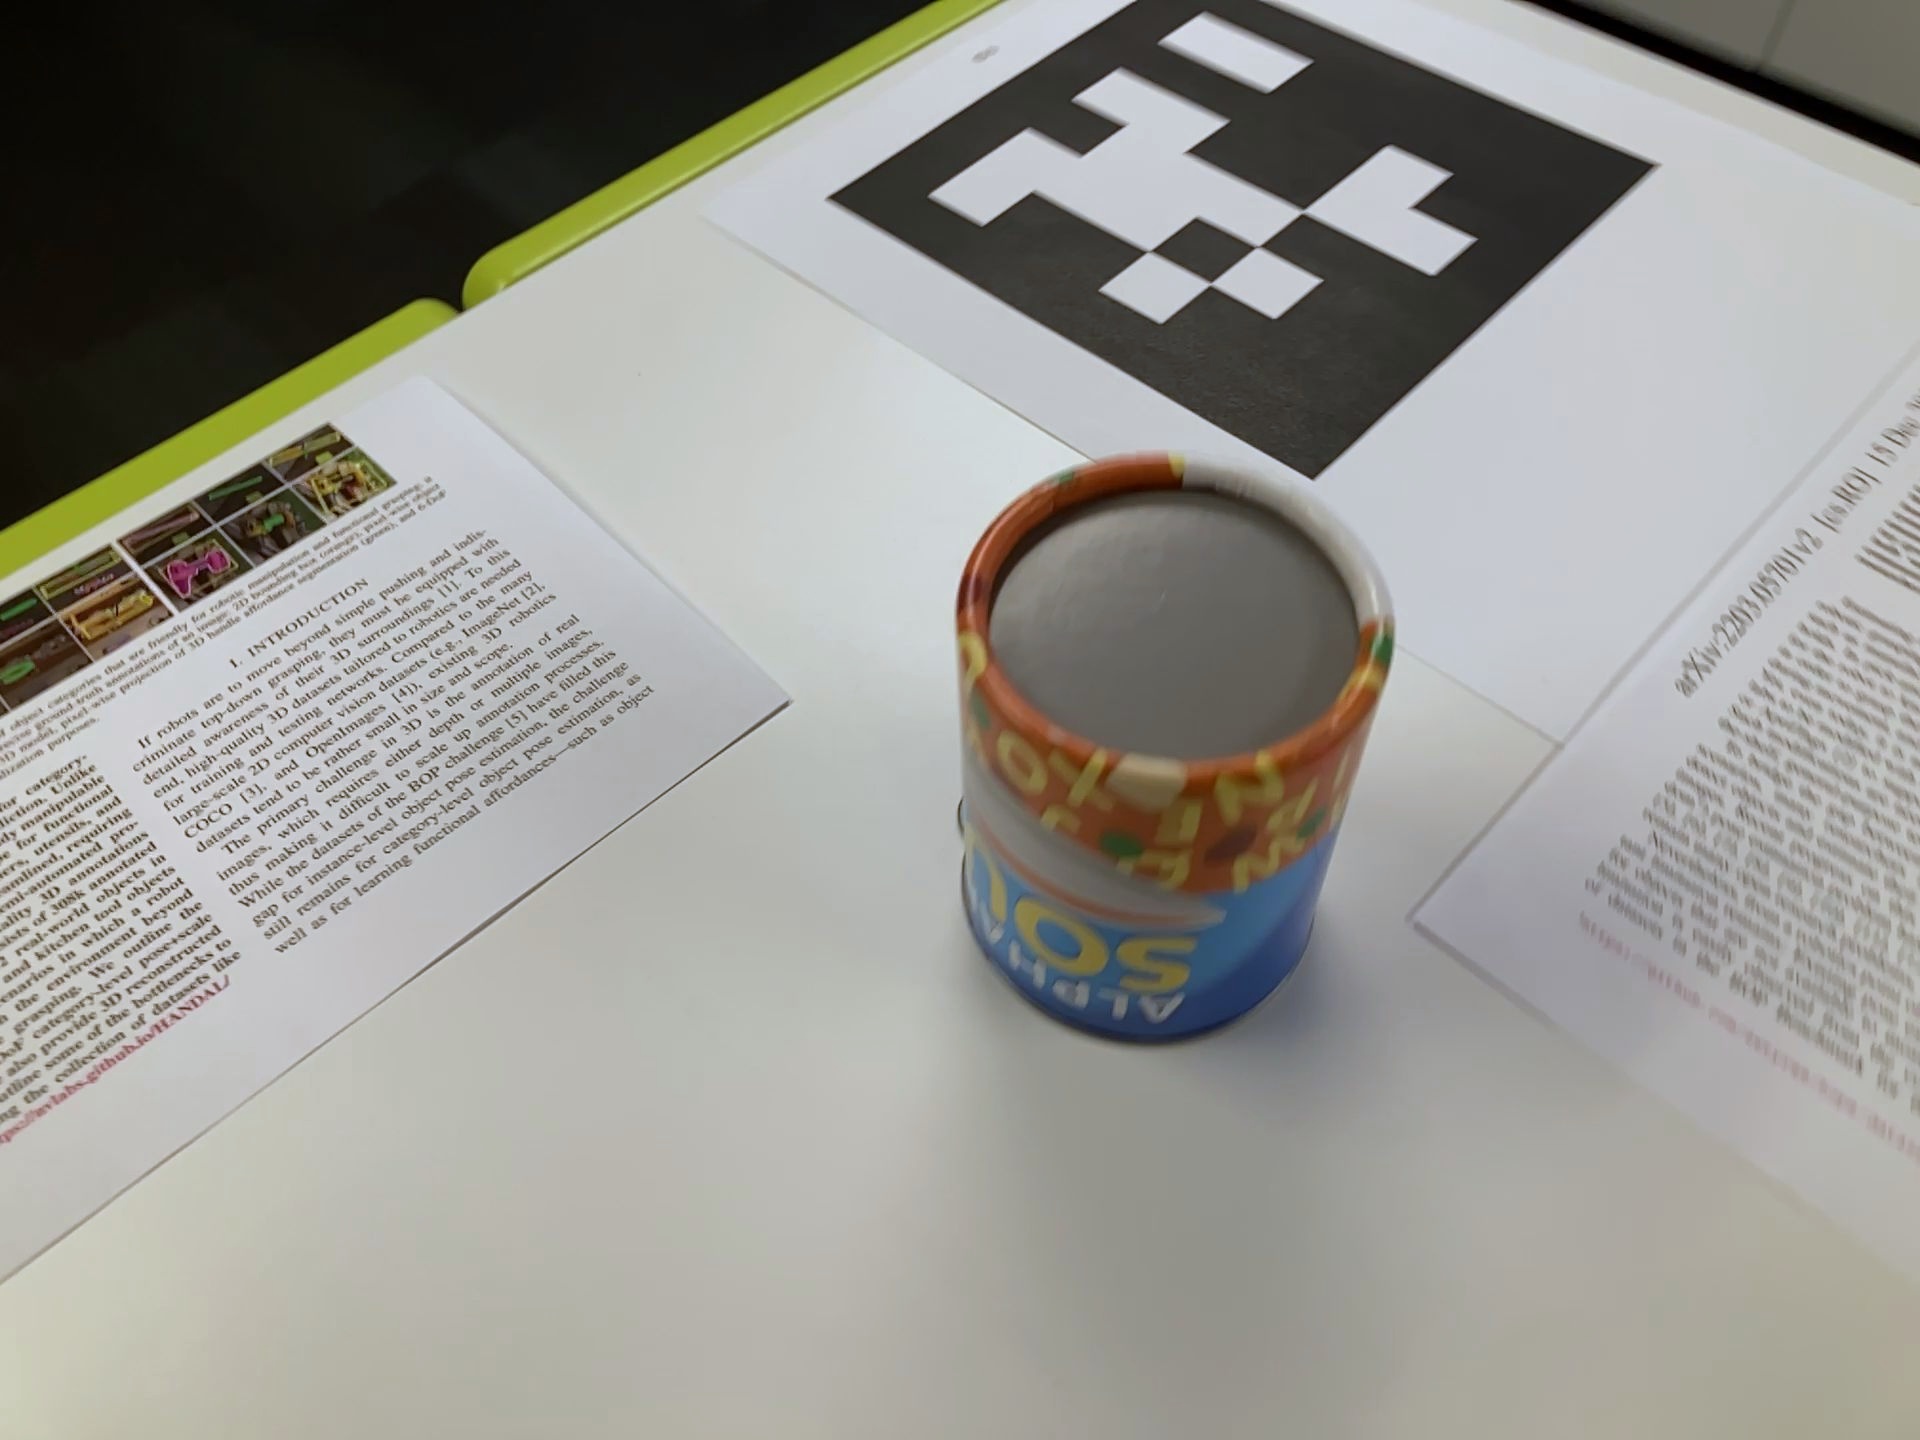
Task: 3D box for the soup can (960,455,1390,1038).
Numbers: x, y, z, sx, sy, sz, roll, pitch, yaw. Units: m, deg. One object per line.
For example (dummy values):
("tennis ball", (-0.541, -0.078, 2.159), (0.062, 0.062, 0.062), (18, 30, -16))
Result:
("soup can", (0.031, 0.008, 0.273), (0.071, 0.084, 0.071), (-1, 53, 2))
